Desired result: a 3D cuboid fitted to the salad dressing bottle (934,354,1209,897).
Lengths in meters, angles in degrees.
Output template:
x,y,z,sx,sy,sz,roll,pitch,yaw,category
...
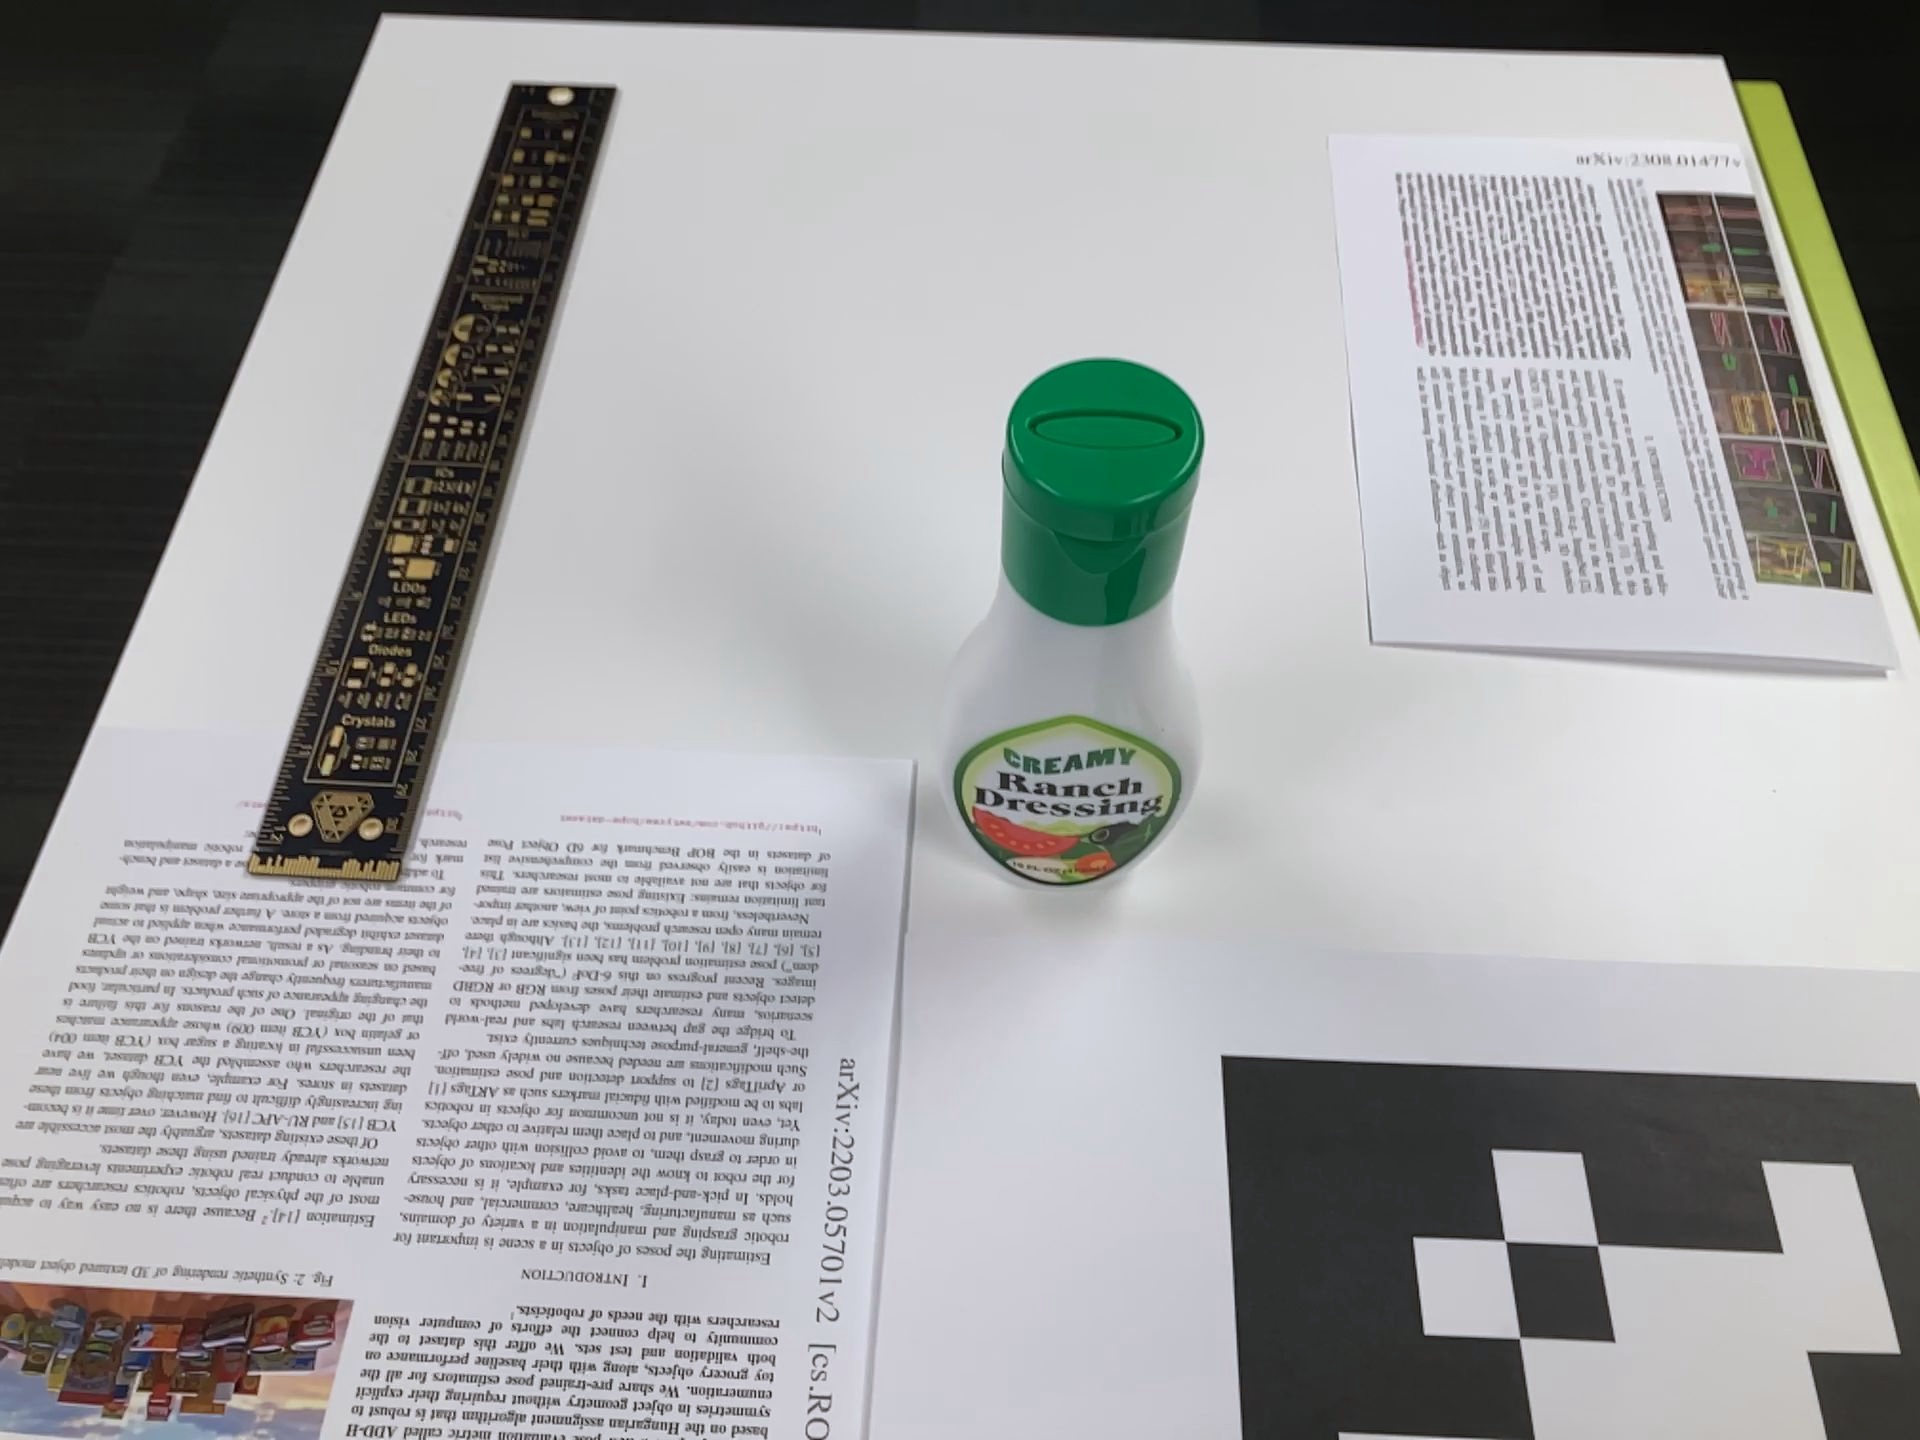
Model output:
x,y,z,sx,sy,sz,roll,pitch,yaw,category
0.026,-0.014,0.346,0.064,0.147,0.044,3,57,2,salad dressing bottle
